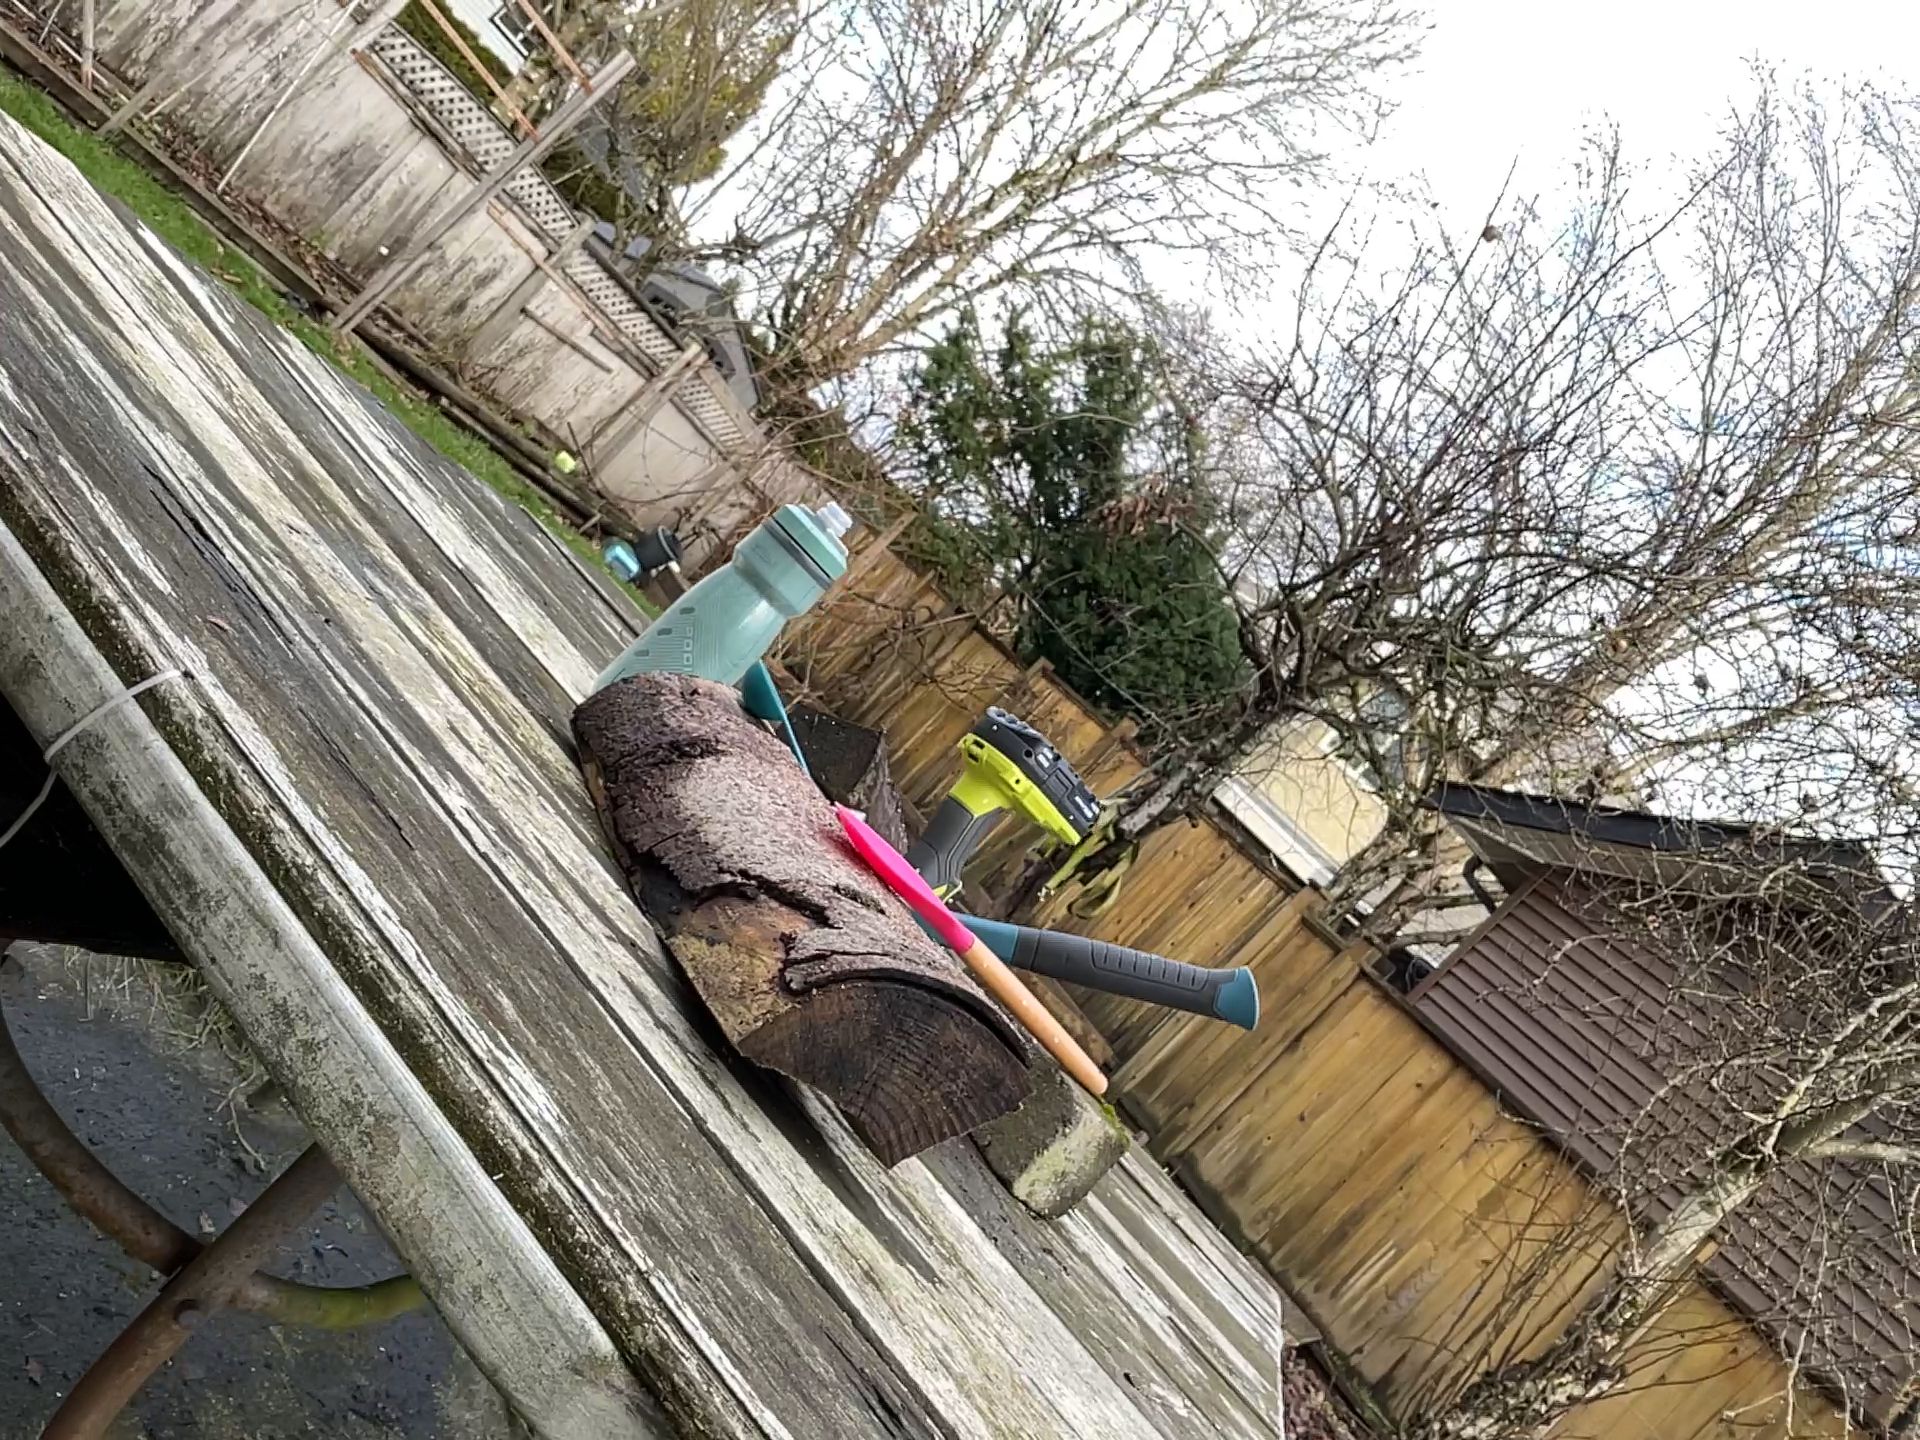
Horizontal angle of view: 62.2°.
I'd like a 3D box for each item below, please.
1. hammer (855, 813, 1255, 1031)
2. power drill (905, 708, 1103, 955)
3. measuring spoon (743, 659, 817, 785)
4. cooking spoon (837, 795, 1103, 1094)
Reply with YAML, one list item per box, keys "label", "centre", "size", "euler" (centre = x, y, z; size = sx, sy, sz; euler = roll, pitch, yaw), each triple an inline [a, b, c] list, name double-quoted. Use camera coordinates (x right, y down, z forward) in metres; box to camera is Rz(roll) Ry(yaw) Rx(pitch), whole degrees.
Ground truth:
- label: "hammer"
  centre: [0.052, 0.163, 1.126]
  size: [0.331, 0.128, 0.033]
  euler: [14, 5, -5]
- label: "power drill"
  centre: [0.003, 0.117, 1.285]
  size: [0.080, 0.223, 0.171]
  euler: [34, -11, 49]
- label: "measuring spoon"
  centre: [-0.113, 0.023, 1.038]
  size: [0.042, 0.021, 0.128]
  euler: [-167, -125, -88]
- label: "cooking spoon"
  centre: [0.014, 0.147, 0.971]
  size: [0.318, 0.017, 0.069]
  euler: [52, -5, -38]
